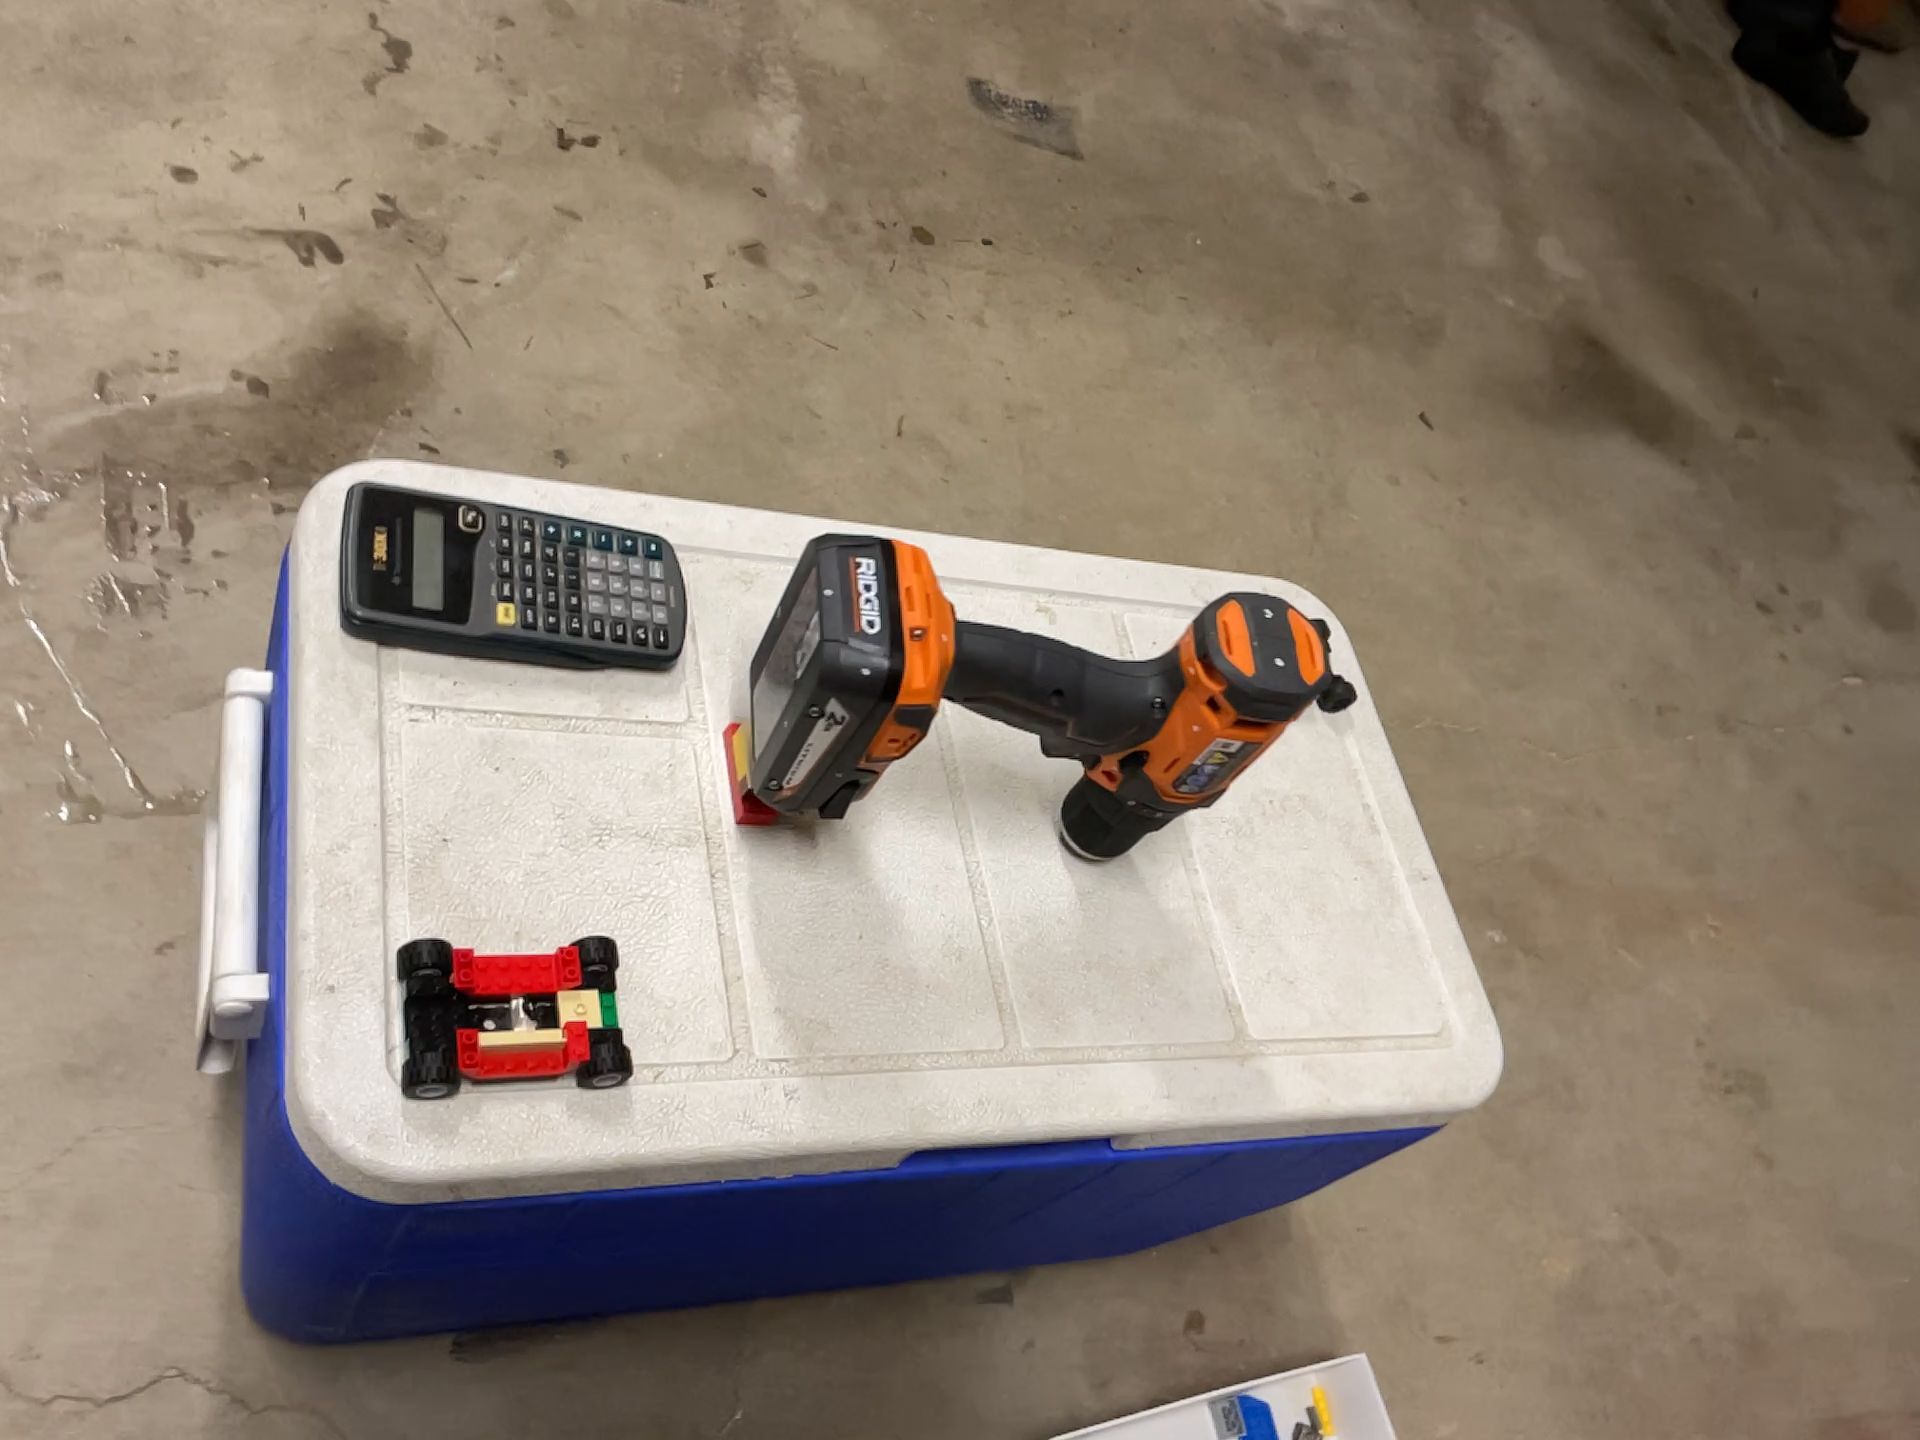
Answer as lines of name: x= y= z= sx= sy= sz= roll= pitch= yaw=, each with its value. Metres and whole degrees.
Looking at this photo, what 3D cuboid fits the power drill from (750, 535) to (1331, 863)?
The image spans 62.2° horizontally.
power drill: x=0.023 y=0.004 z=0.708 sx=0.226 sy=0.185 sz=0.084 roll=6 pitch=58 yaw=-21
